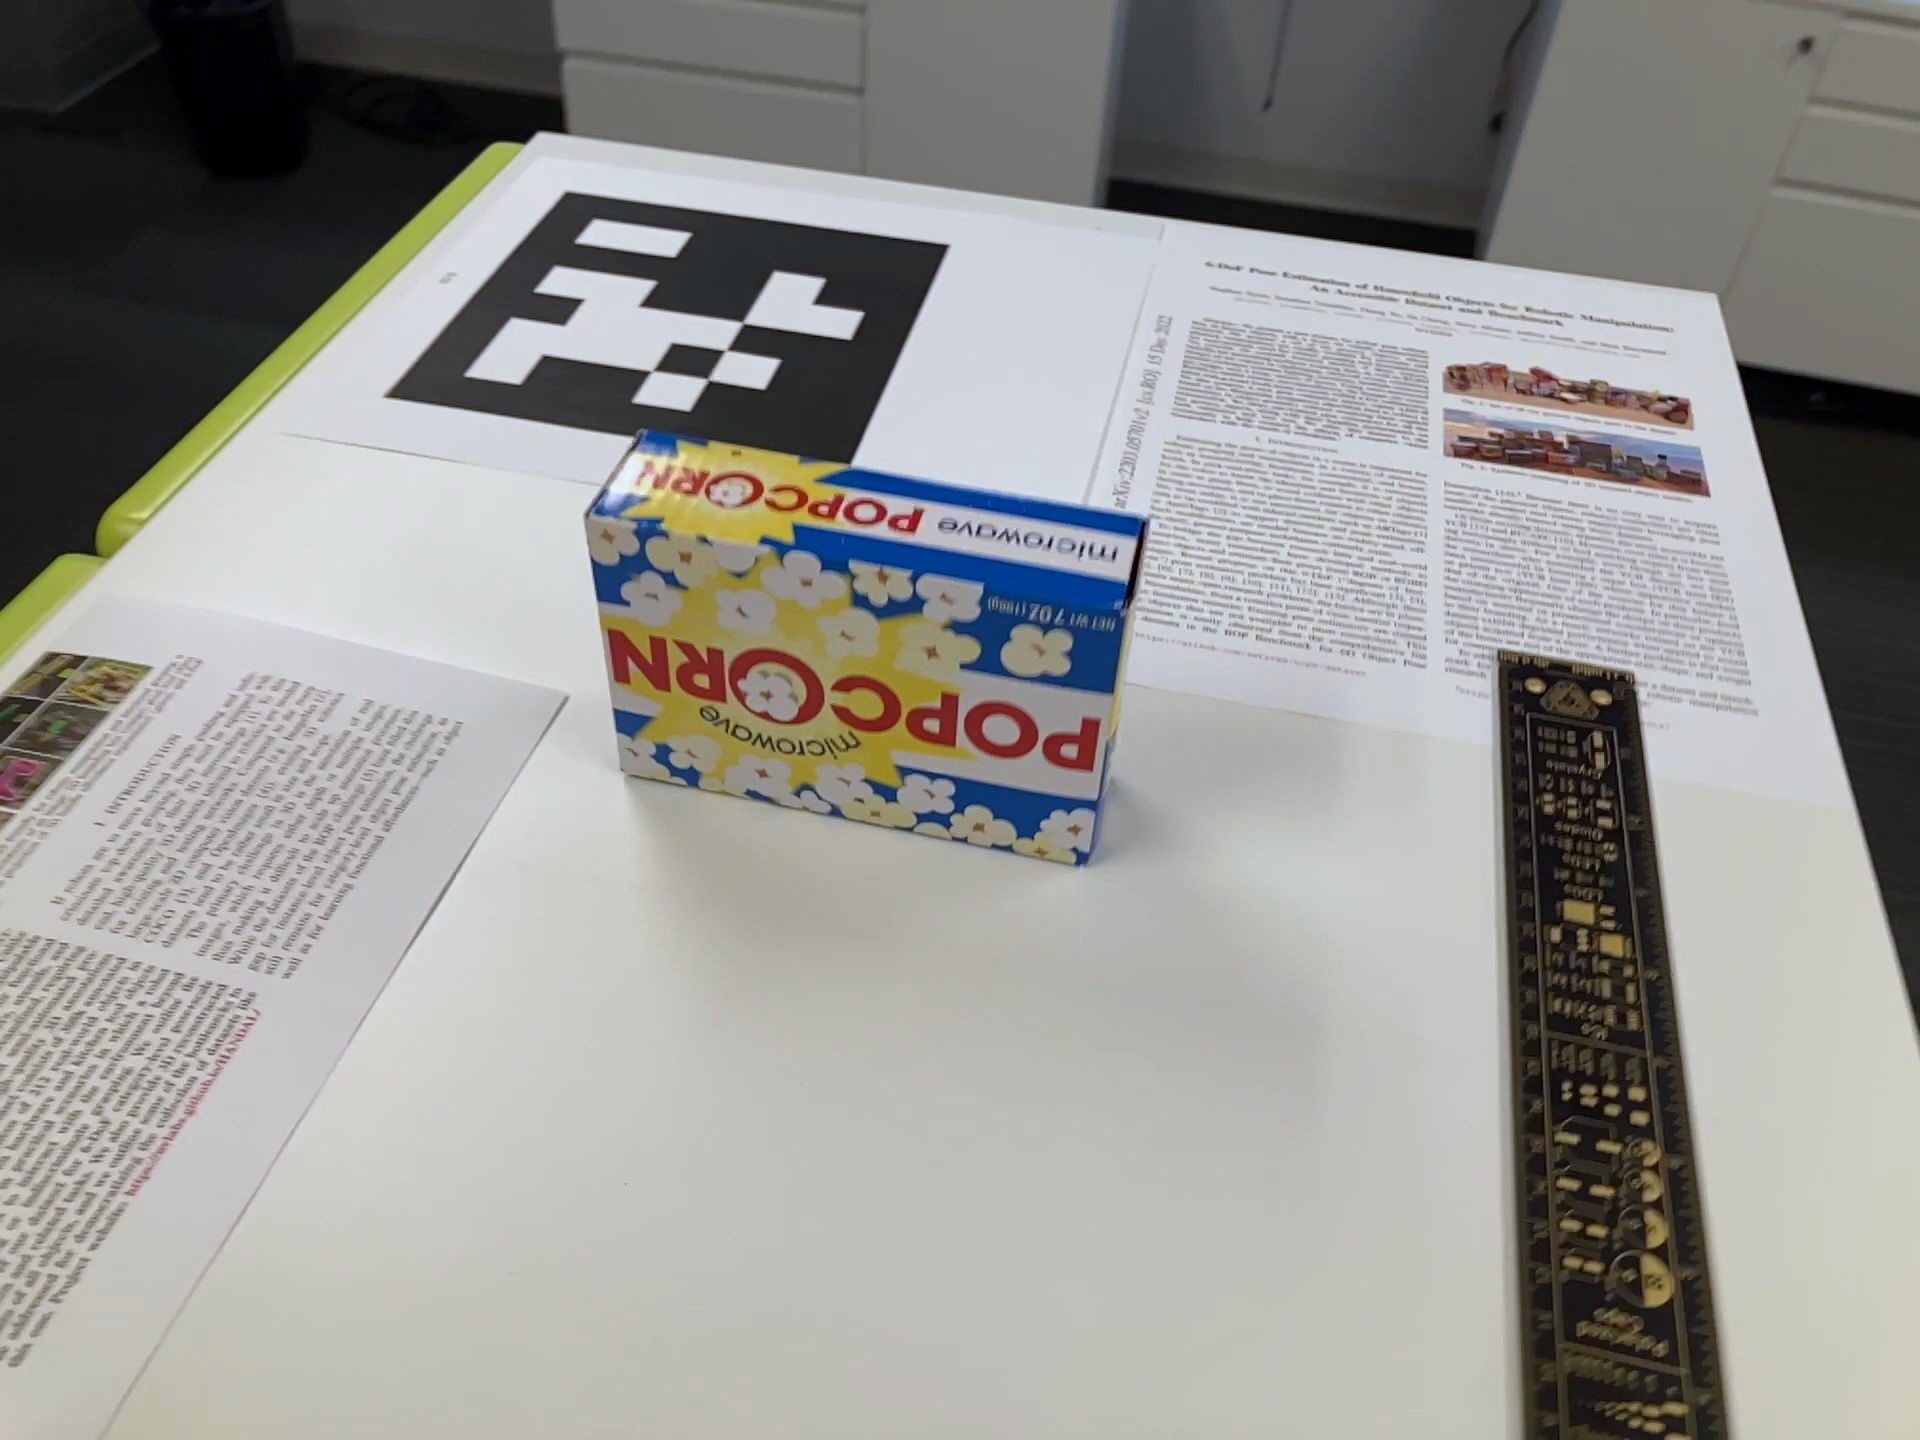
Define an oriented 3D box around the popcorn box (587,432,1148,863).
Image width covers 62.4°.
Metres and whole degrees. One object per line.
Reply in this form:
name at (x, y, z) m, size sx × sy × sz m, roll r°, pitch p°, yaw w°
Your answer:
popcorn box at (-0.022, -0.017, 0.390) m, size 0.126 × 0.085 × 0.038 m, roll 11°, pitch 45°, yaw 7°
